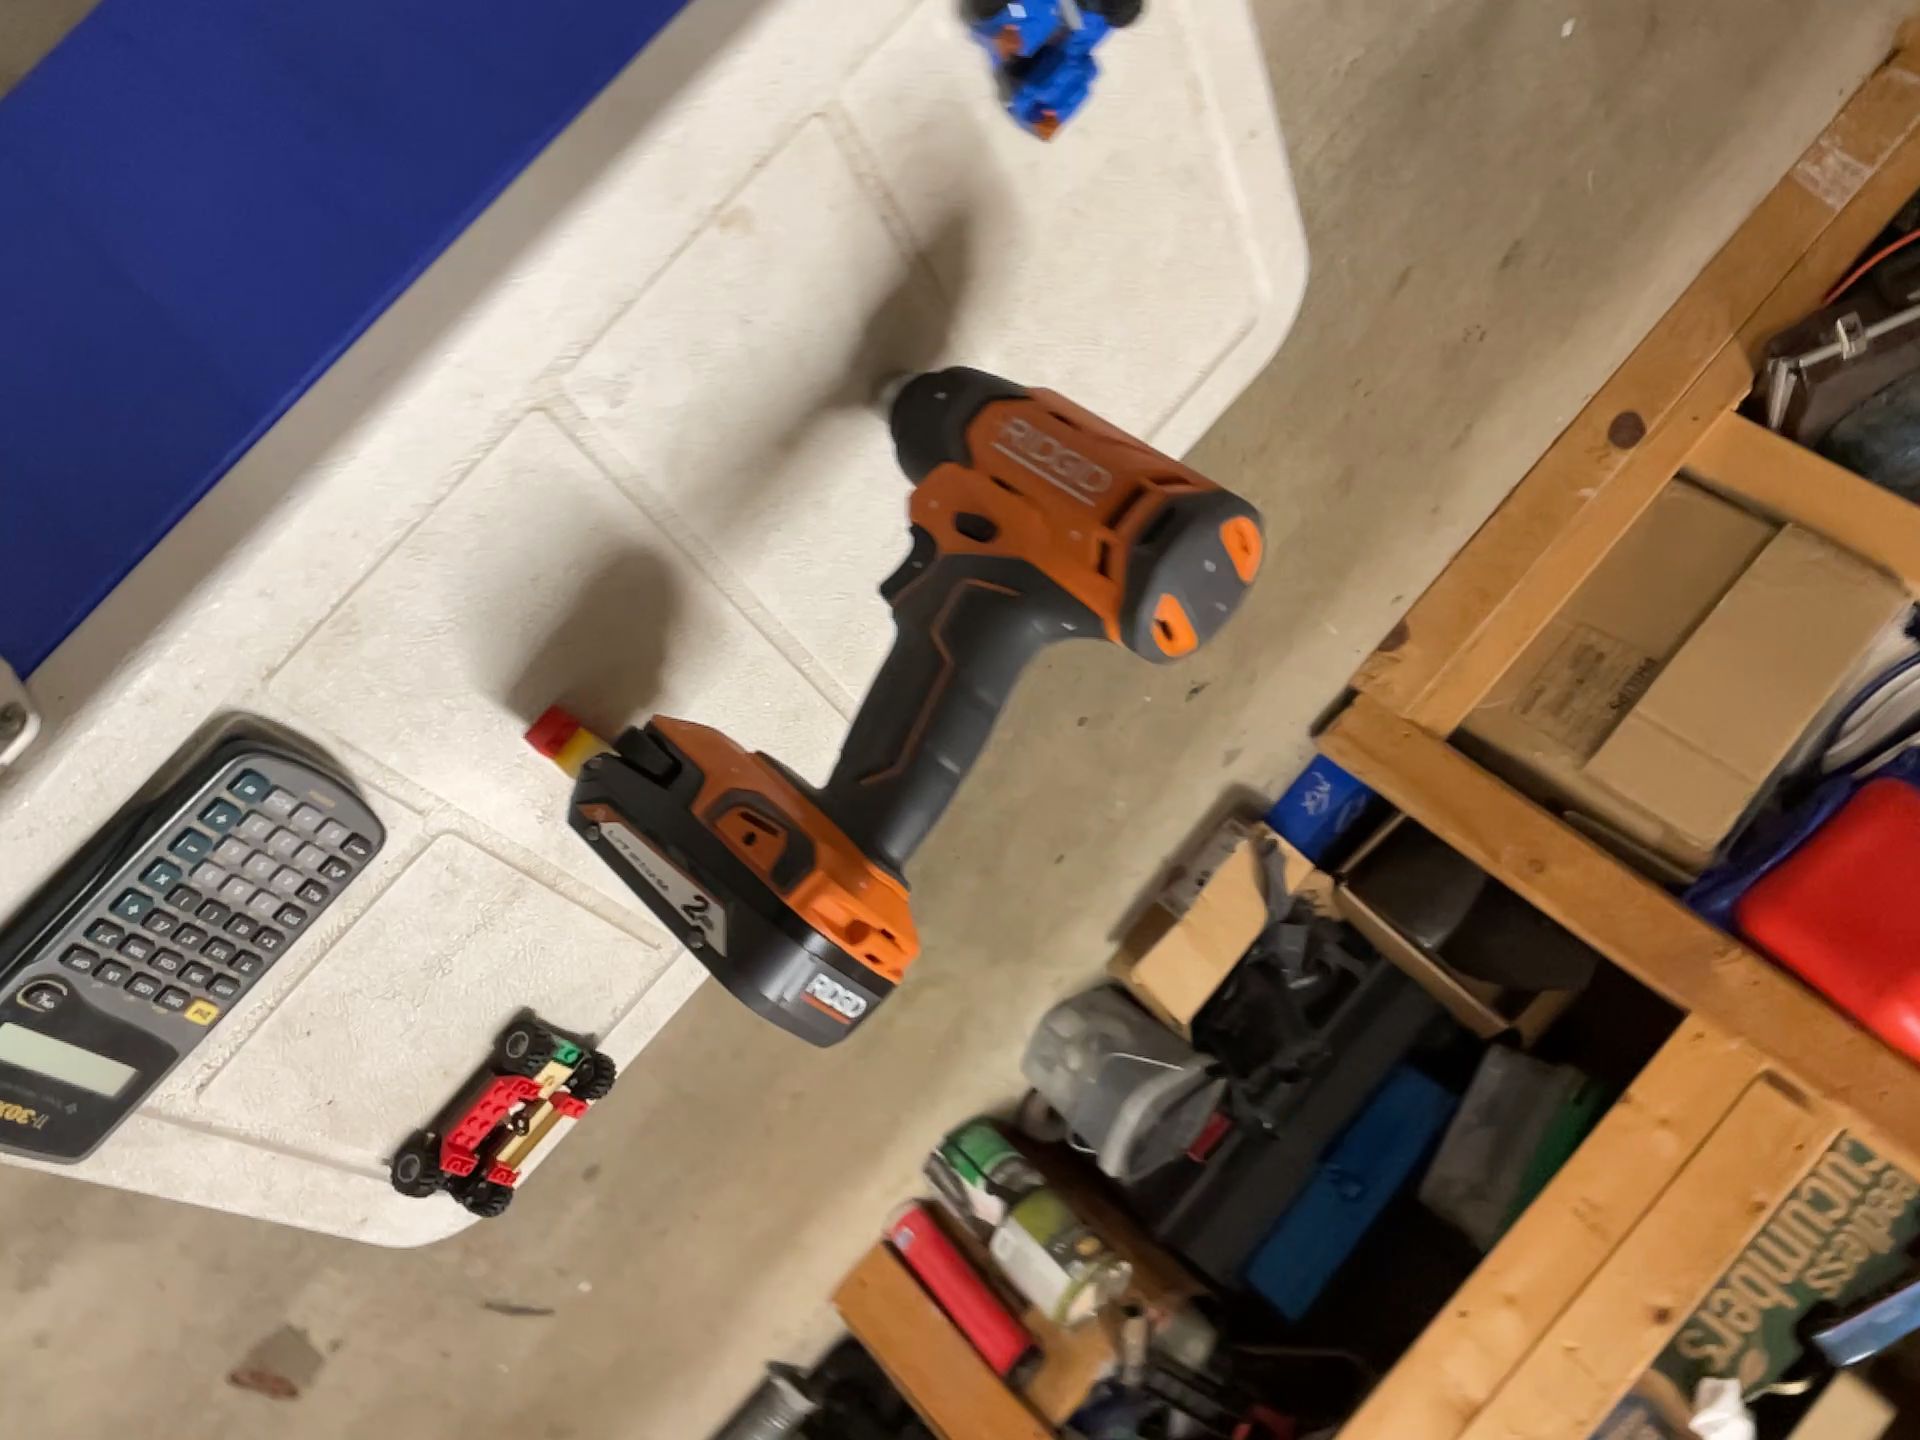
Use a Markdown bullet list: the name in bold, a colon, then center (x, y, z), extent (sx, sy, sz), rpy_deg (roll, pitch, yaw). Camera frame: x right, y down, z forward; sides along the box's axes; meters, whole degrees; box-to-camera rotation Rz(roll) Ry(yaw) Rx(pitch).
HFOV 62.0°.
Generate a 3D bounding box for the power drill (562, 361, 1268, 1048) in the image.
- **power drill**: center (-0.026, -0.022, 0.550), extent (0.226, 0.164, 0.084), rpy_deg (-49, 147, -5)
